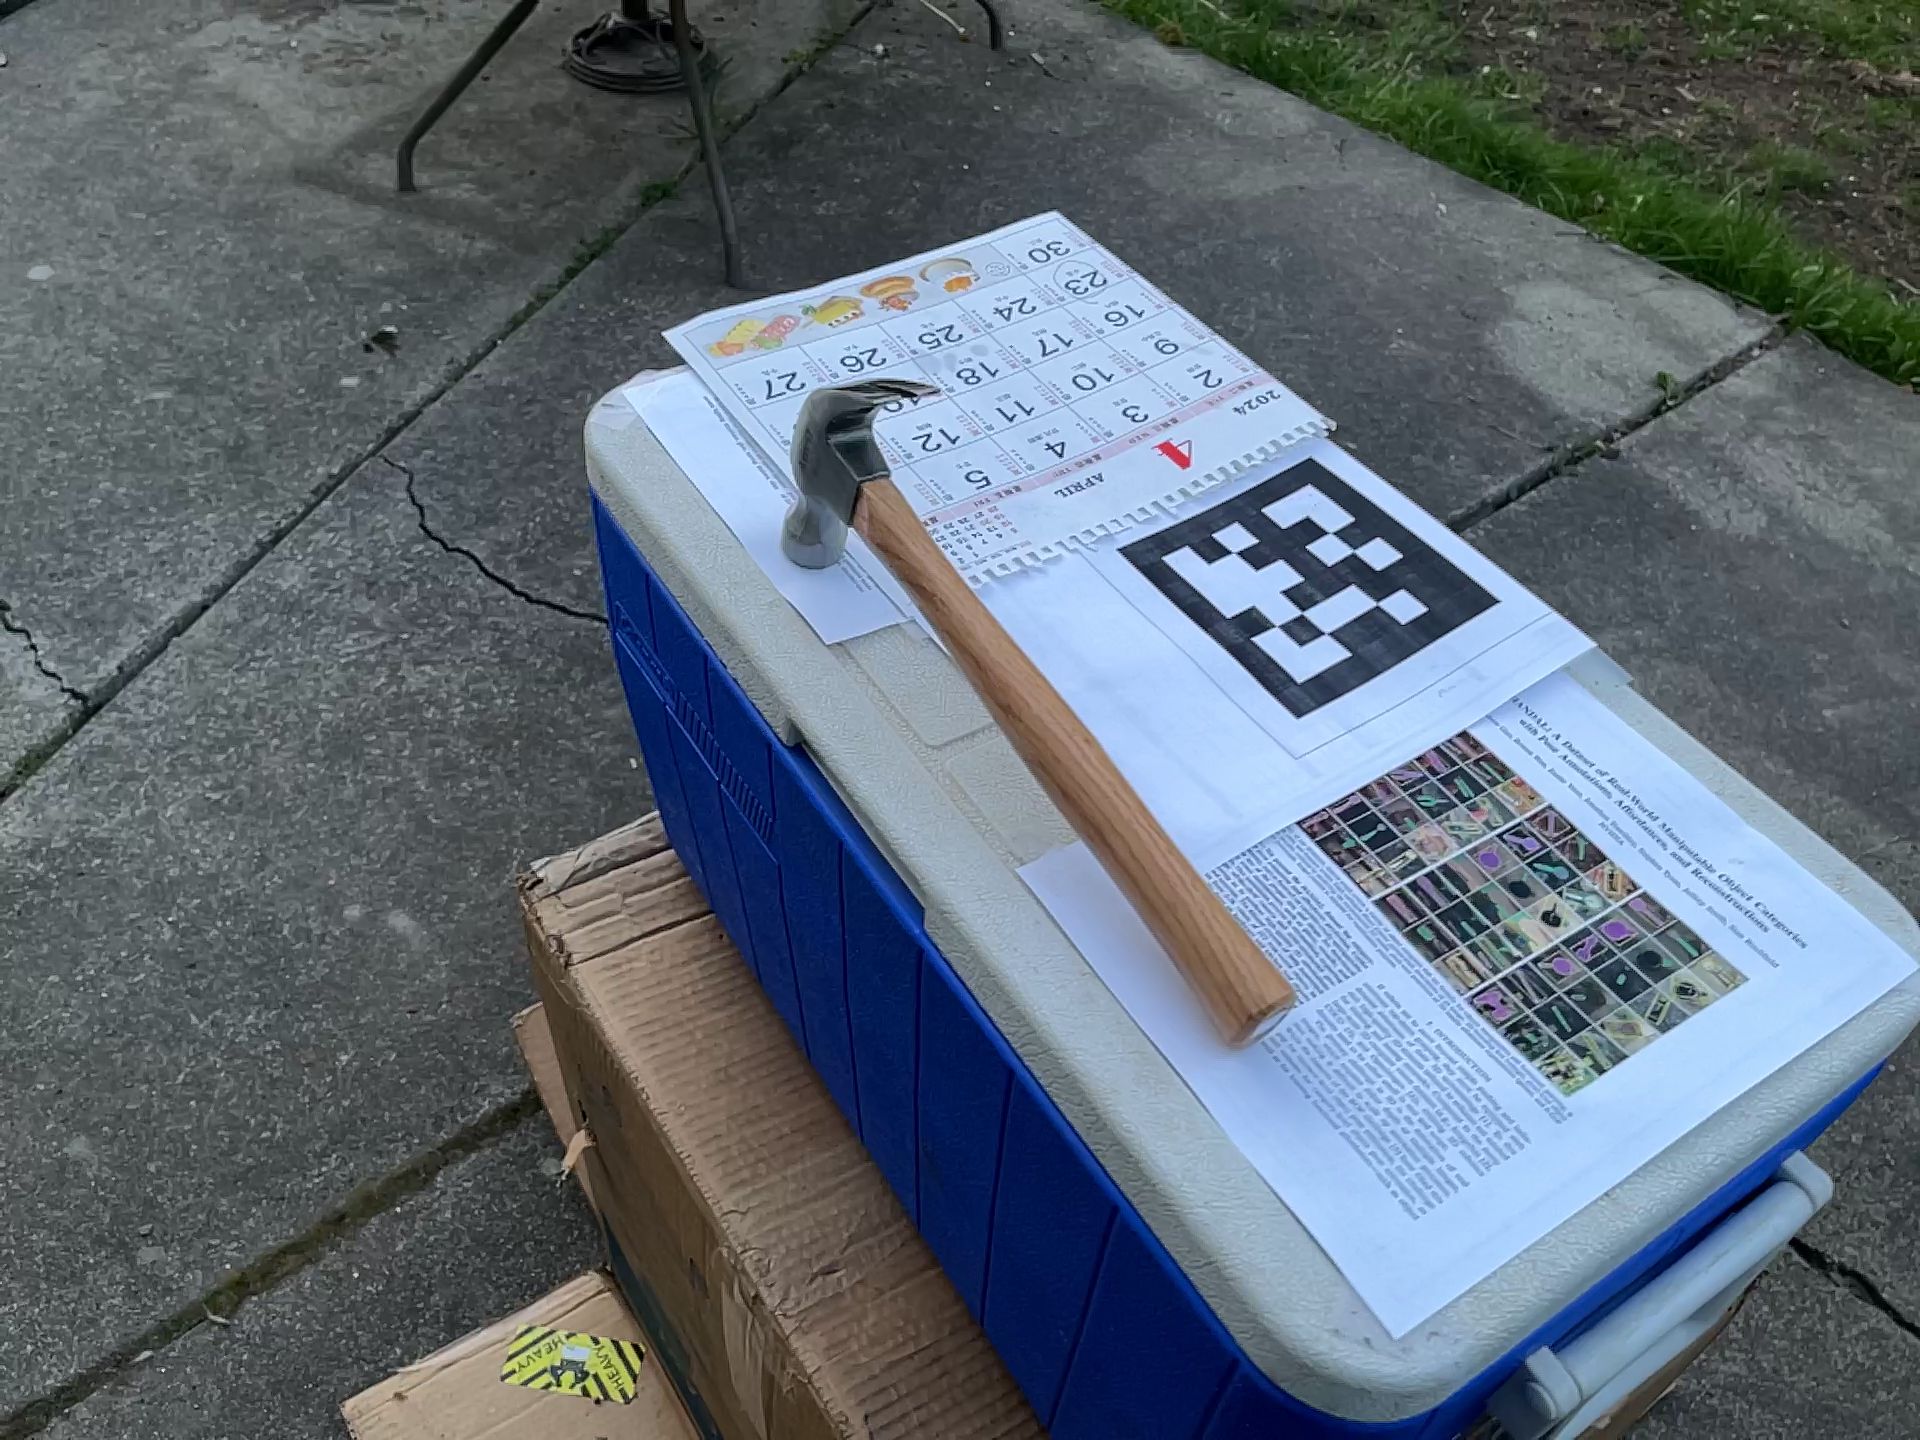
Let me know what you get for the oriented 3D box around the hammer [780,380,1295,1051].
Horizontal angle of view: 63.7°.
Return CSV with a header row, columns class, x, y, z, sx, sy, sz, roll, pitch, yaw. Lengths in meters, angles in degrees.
class,x,y,z,sx,sy,sz,roll,pitch,yaw
hammer,0.022,-0.013,0.622,0.031,0.130,0.331,-21,61,-29
